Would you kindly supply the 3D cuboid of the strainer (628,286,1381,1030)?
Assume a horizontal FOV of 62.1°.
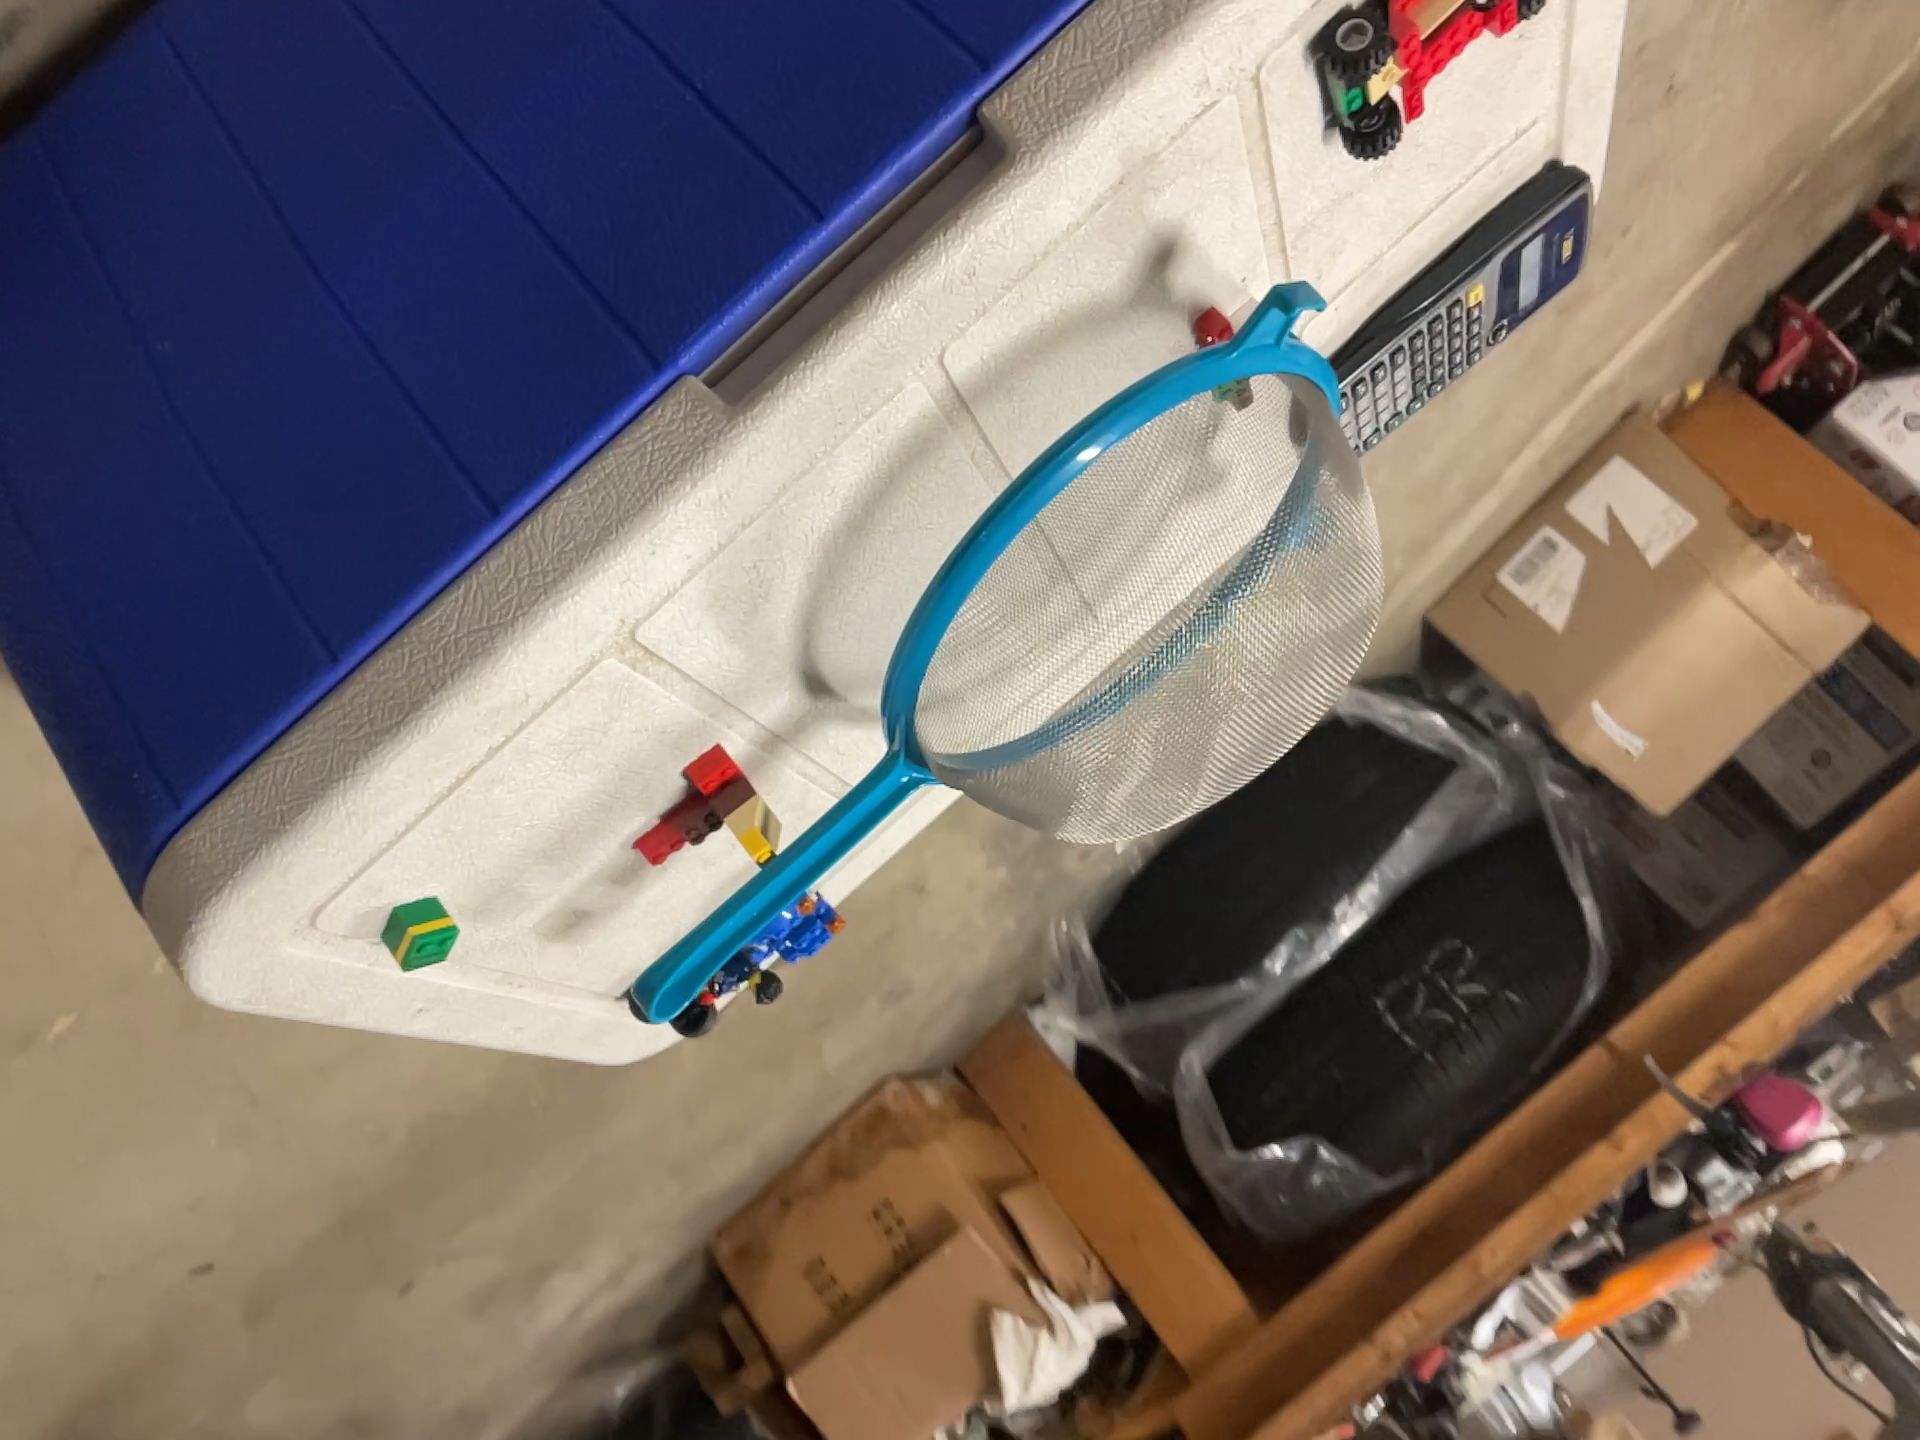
[{"bbox_3d":[0.031,0.019,0.570,0.340,0.095,0.211,-42,157,0],"label":"strainer"}]
